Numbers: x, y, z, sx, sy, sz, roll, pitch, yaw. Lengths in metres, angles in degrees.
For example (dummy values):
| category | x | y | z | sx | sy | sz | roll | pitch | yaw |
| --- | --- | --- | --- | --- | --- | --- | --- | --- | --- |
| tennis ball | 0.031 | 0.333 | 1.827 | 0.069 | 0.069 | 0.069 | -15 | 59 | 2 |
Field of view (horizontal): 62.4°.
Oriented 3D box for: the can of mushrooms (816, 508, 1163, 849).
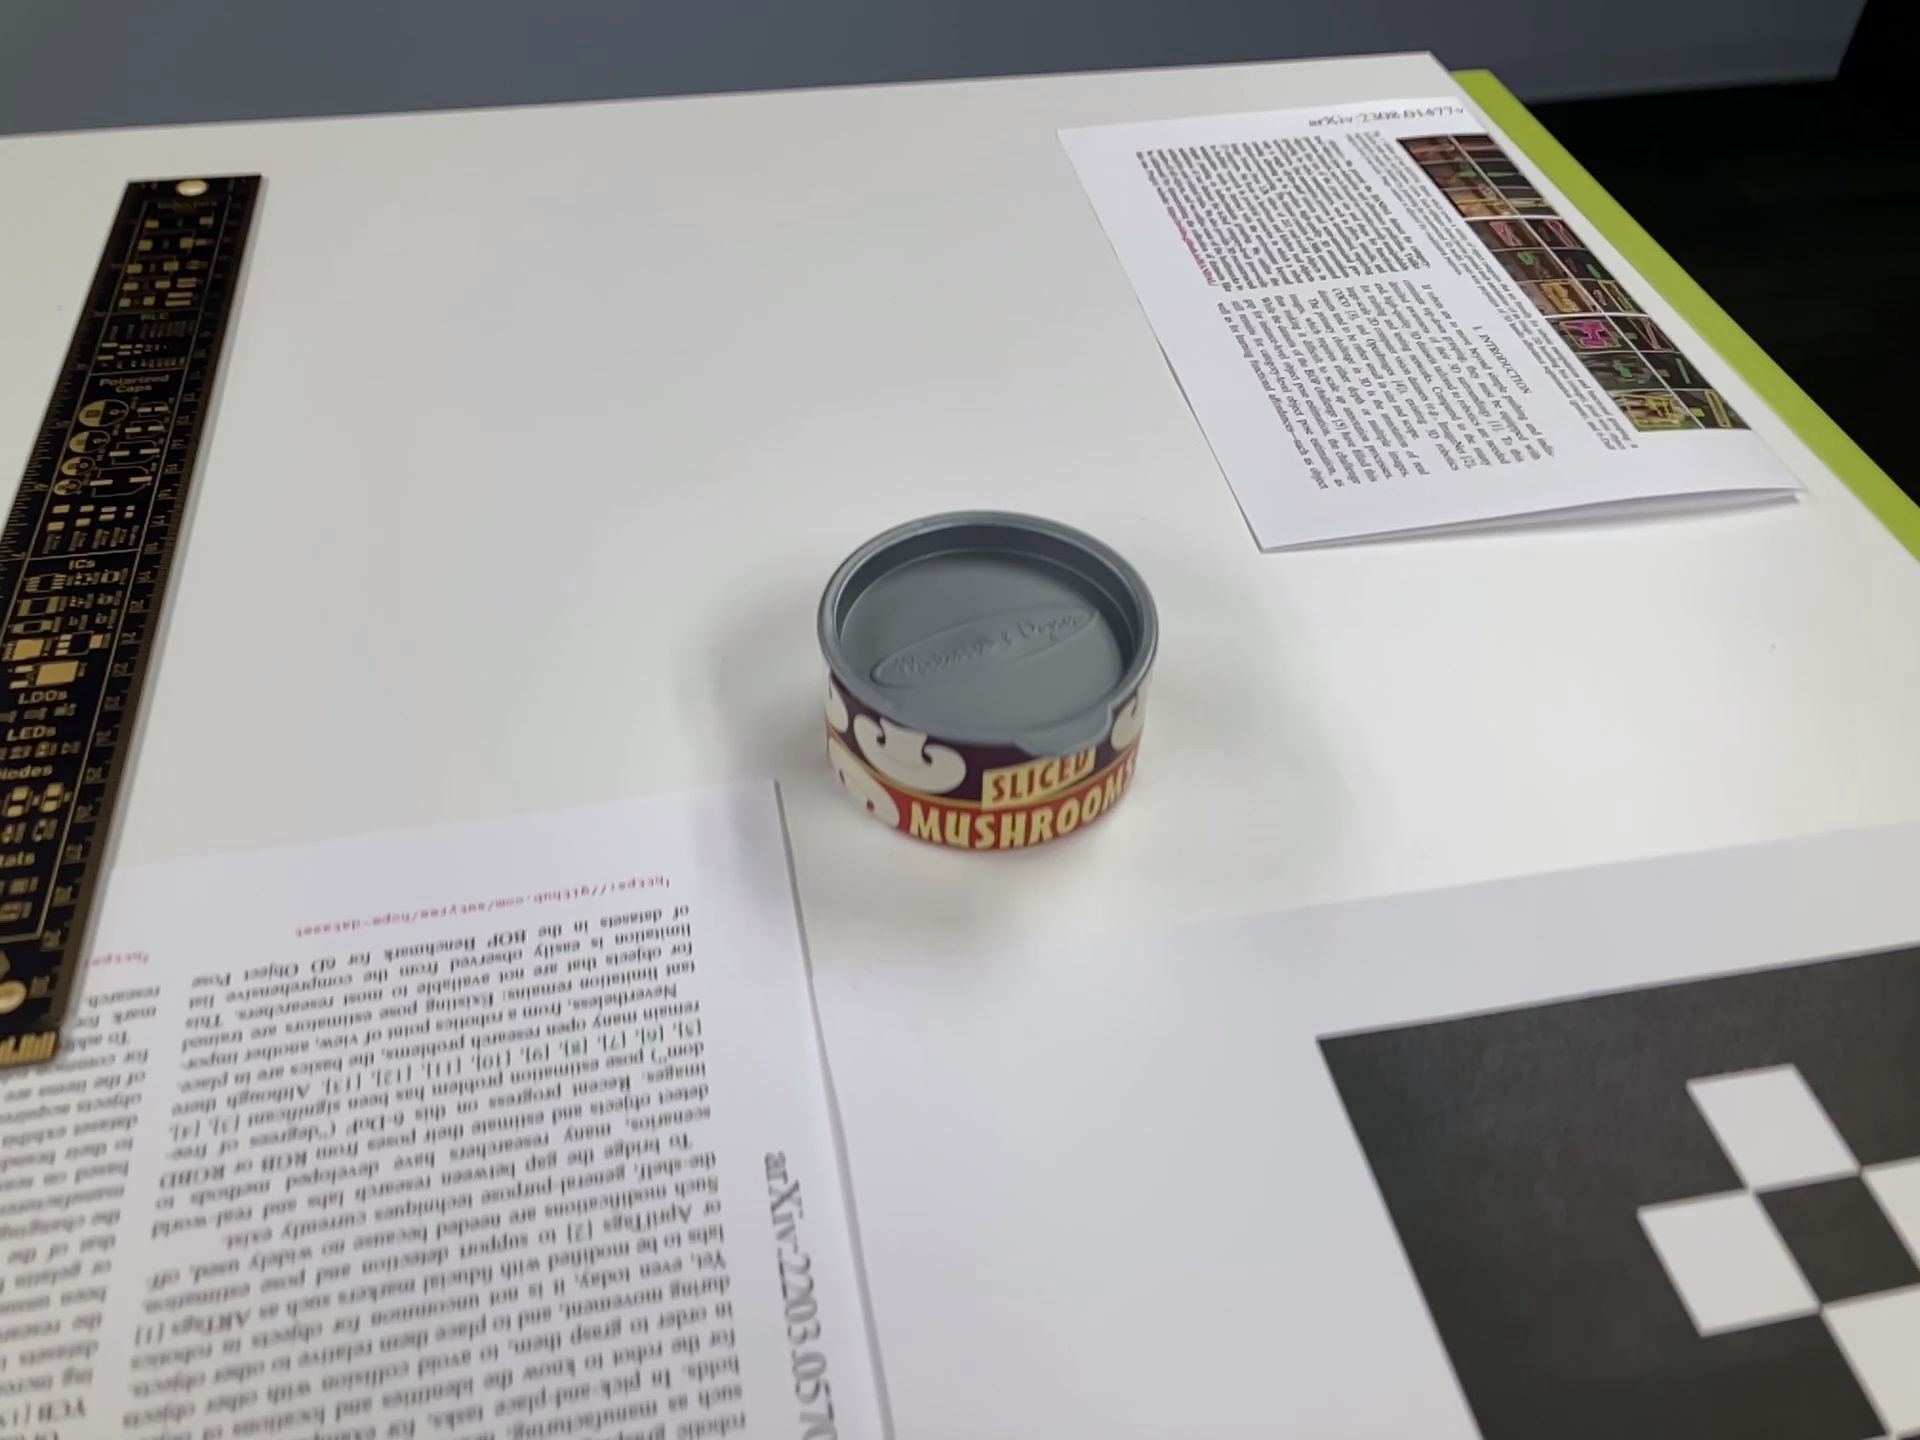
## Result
| category | x | y | z | sx | sy | sz | roll | pitch | yaw |
| --- | --- | --- | --- | --- | --- | --- | --- | --- | --- |
| can of mushrooms | 0.006 | -0.008 | 0.312 | 0.071 | 0.033 | 0.071 | 2 | 45 | -2 |
